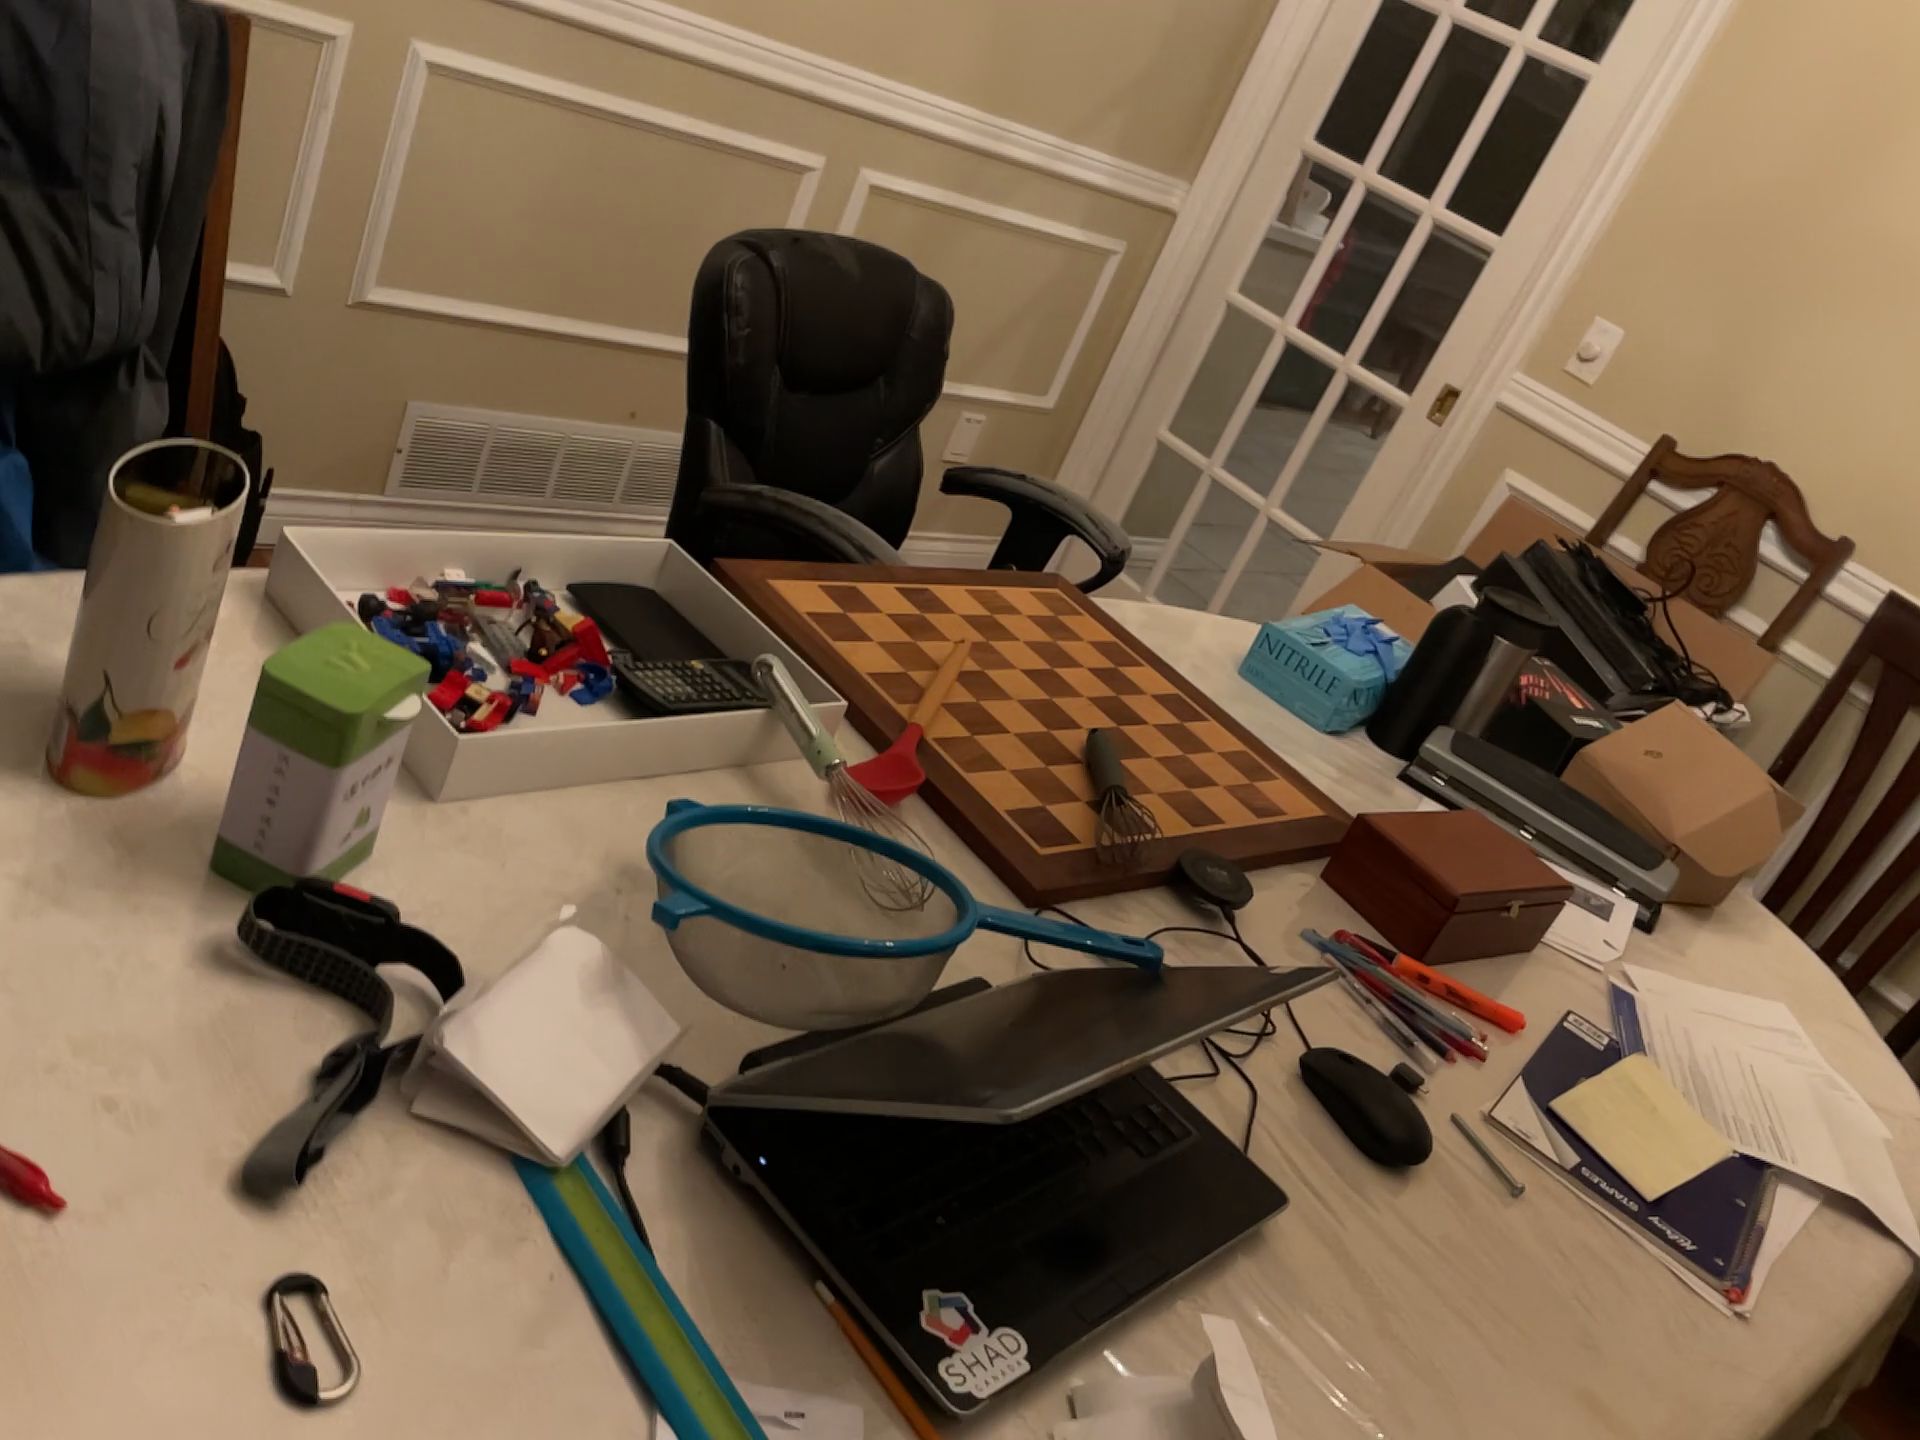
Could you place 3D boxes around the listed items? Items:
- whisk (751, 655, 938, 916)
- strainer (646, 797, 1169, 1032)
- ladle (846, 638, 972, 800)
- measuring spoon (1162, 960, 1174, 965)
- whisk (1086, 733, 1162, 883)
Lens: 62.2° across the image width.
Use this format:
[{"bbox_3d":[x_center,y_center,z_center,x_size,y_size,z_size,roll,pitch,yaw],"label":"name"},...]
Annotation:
[{"bbox_3d":[-0.090,0.045,1.178,0.247,0.058,0.059,55,5,24],"label":"whisk"},{"bbox_3d":[-0.039,0.149,1.003,0.340,0.095,0.211,14,14,-12],"label":"strainer"},{"bbox_3d":[-0.032,-0.006,1.365,0.069,0.031,0.315,7,27,12],"label":"ladle"},{"bbox_3d":[0.144,0.191,1.197,0.129,0.021,0.042,19,15,15],"label":"measuring spoon"},{"bbox_3d":[0.134,0.068,1.363,0.055,0.055,0.239,33,18,-16],"label":"whisk"}]
